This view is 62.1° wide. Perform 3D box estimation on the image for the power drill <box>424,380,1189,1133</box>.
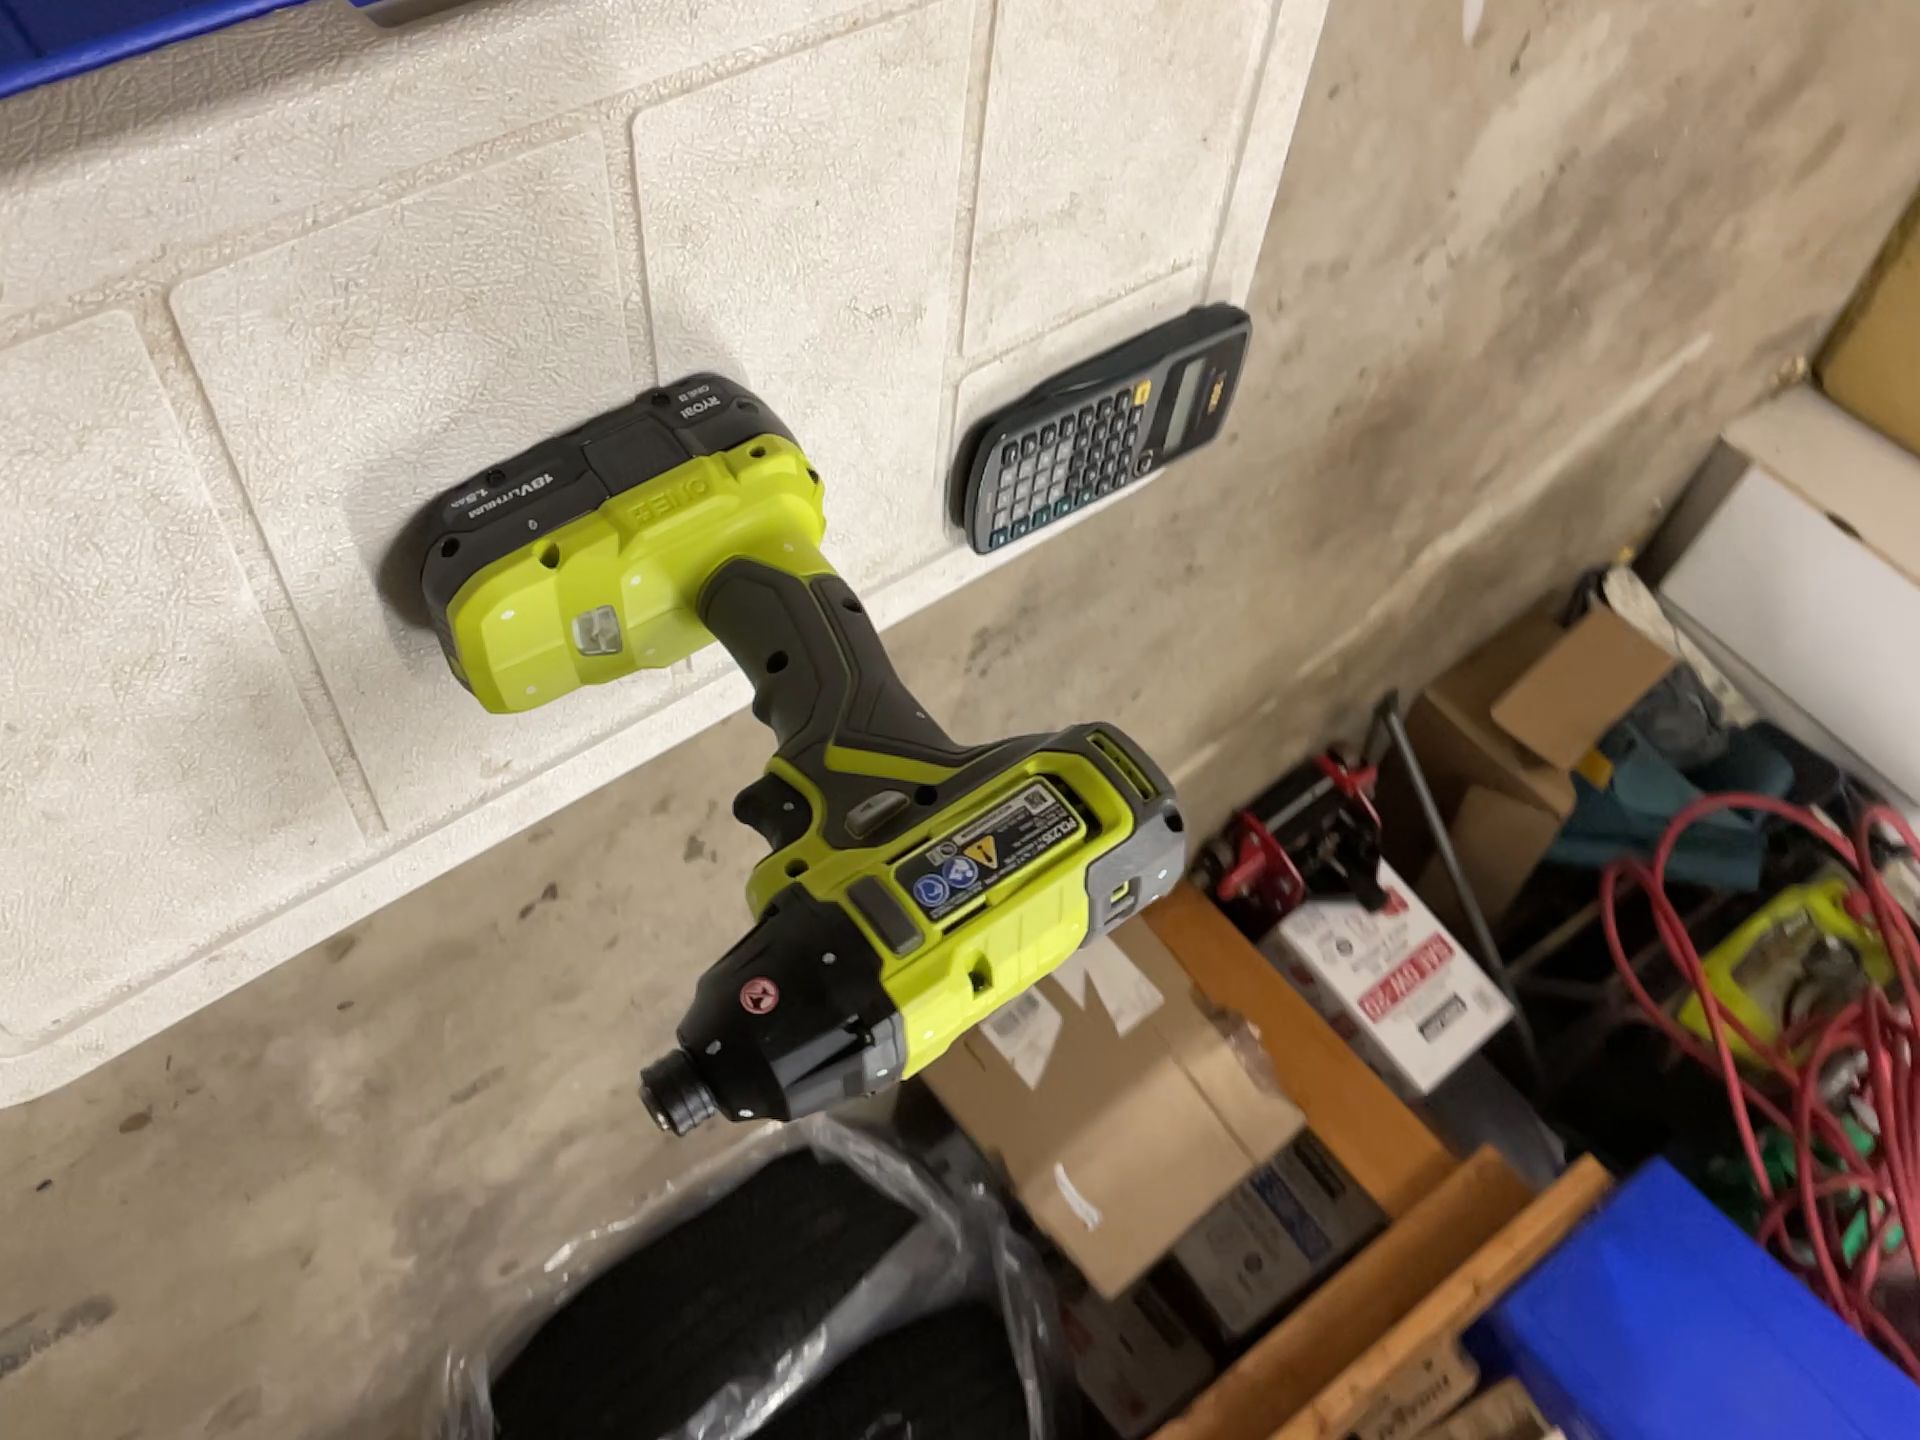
[{"bbox_3d":[-0.064,0.006,0.495,0.171,0.223,0.080,-31,152,-21],"label":"power drill"}]
